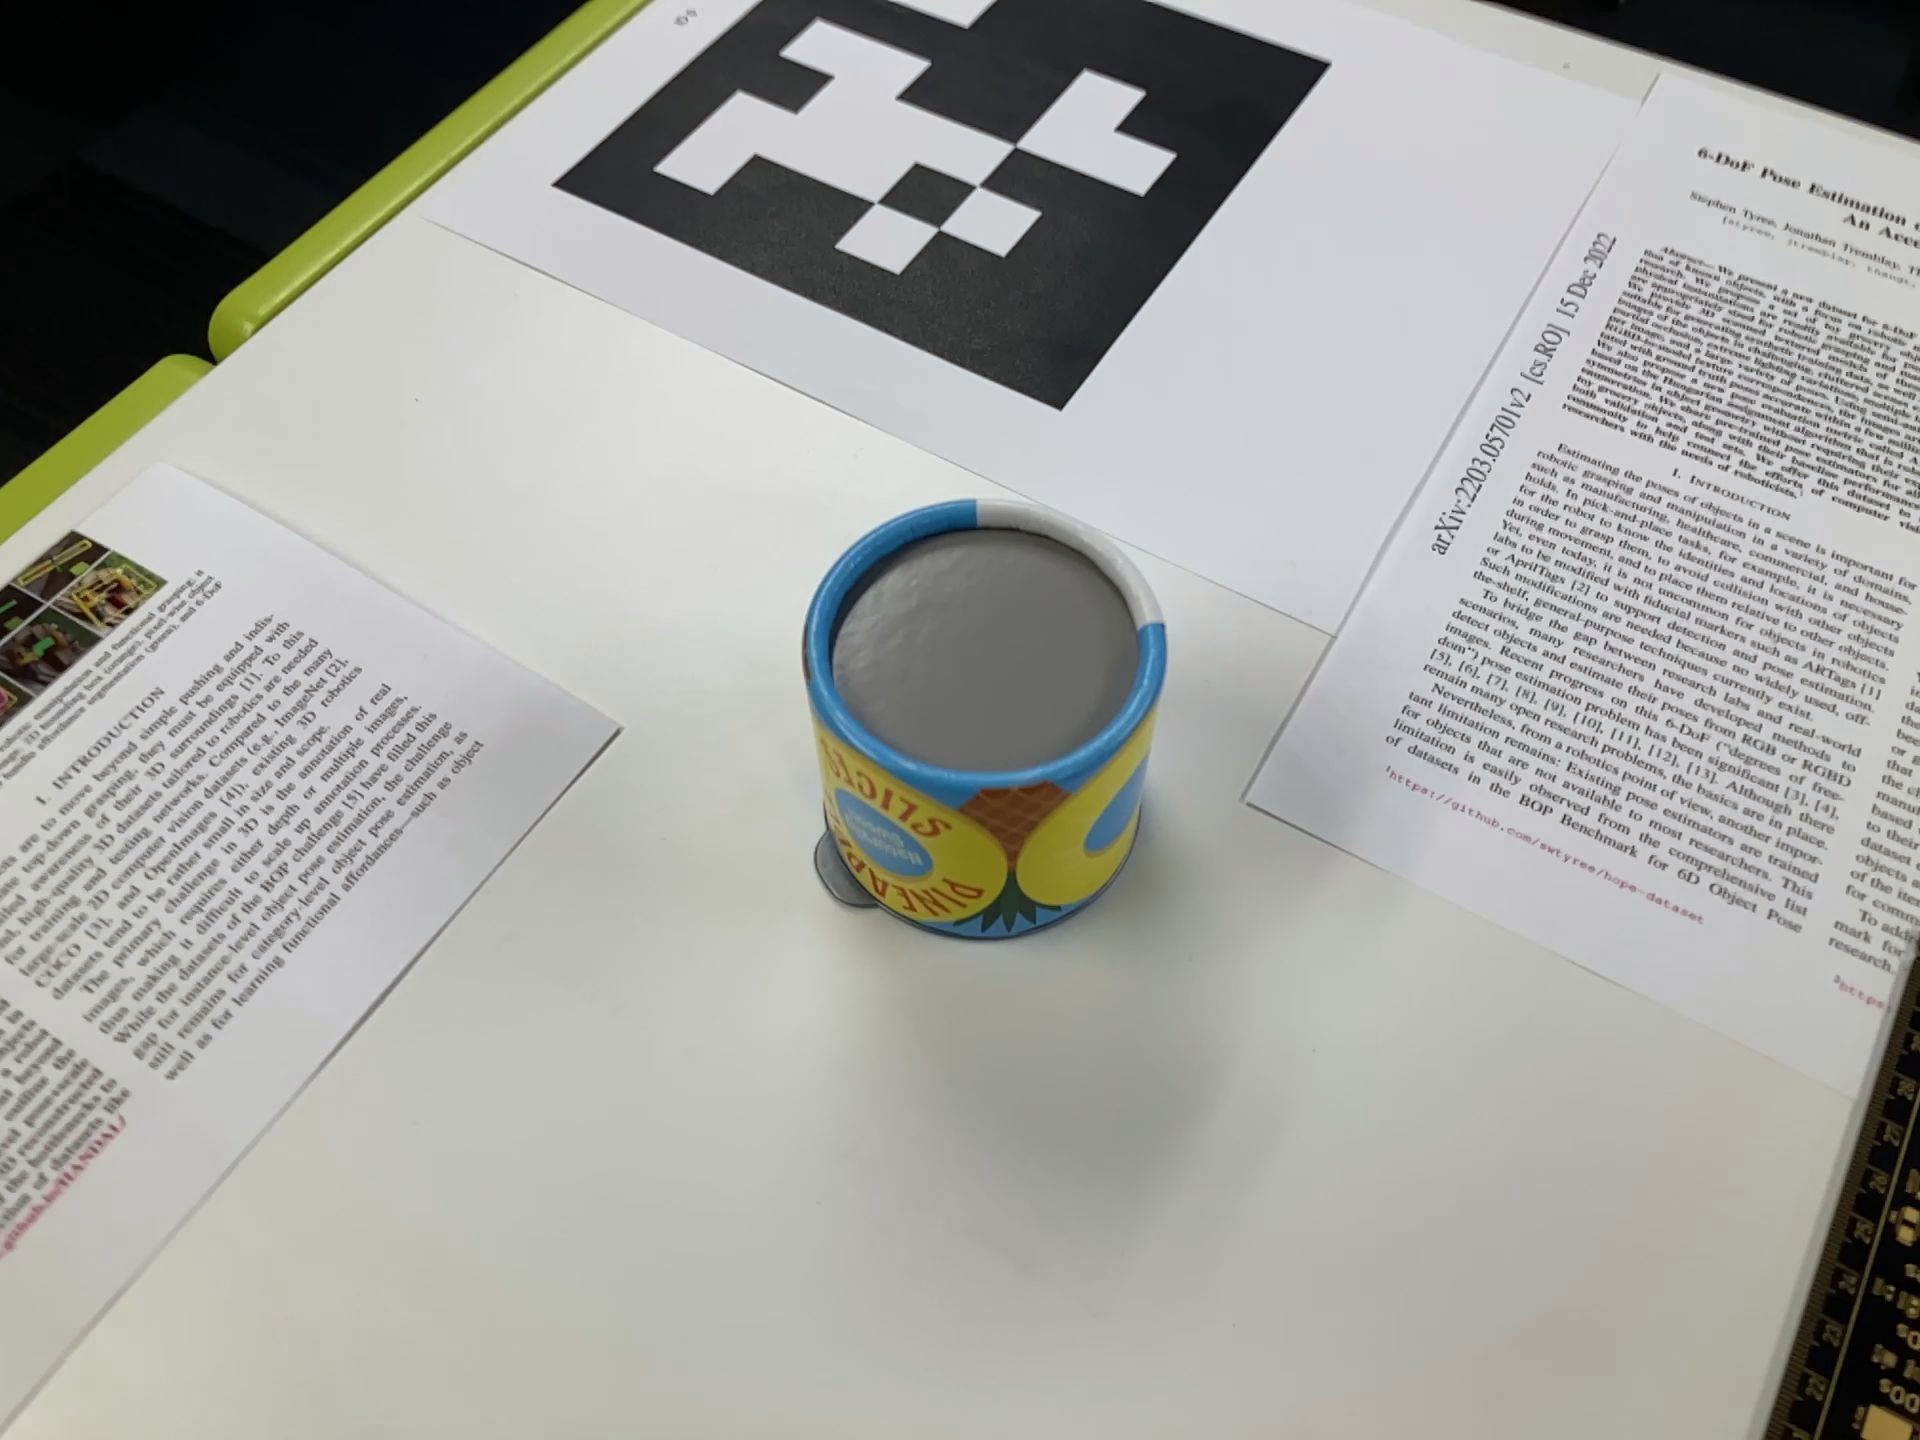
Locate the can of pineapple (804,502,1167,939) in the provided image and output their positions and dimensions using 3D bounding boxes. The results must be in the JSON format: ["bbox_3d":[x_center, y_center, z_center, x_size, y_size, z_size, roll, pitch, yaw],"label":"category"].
[{"bbox_3d":[0.004,0.002,0.306,0.071,0.058,0.071,0,57,1],"label":"can of pineapple"}]
